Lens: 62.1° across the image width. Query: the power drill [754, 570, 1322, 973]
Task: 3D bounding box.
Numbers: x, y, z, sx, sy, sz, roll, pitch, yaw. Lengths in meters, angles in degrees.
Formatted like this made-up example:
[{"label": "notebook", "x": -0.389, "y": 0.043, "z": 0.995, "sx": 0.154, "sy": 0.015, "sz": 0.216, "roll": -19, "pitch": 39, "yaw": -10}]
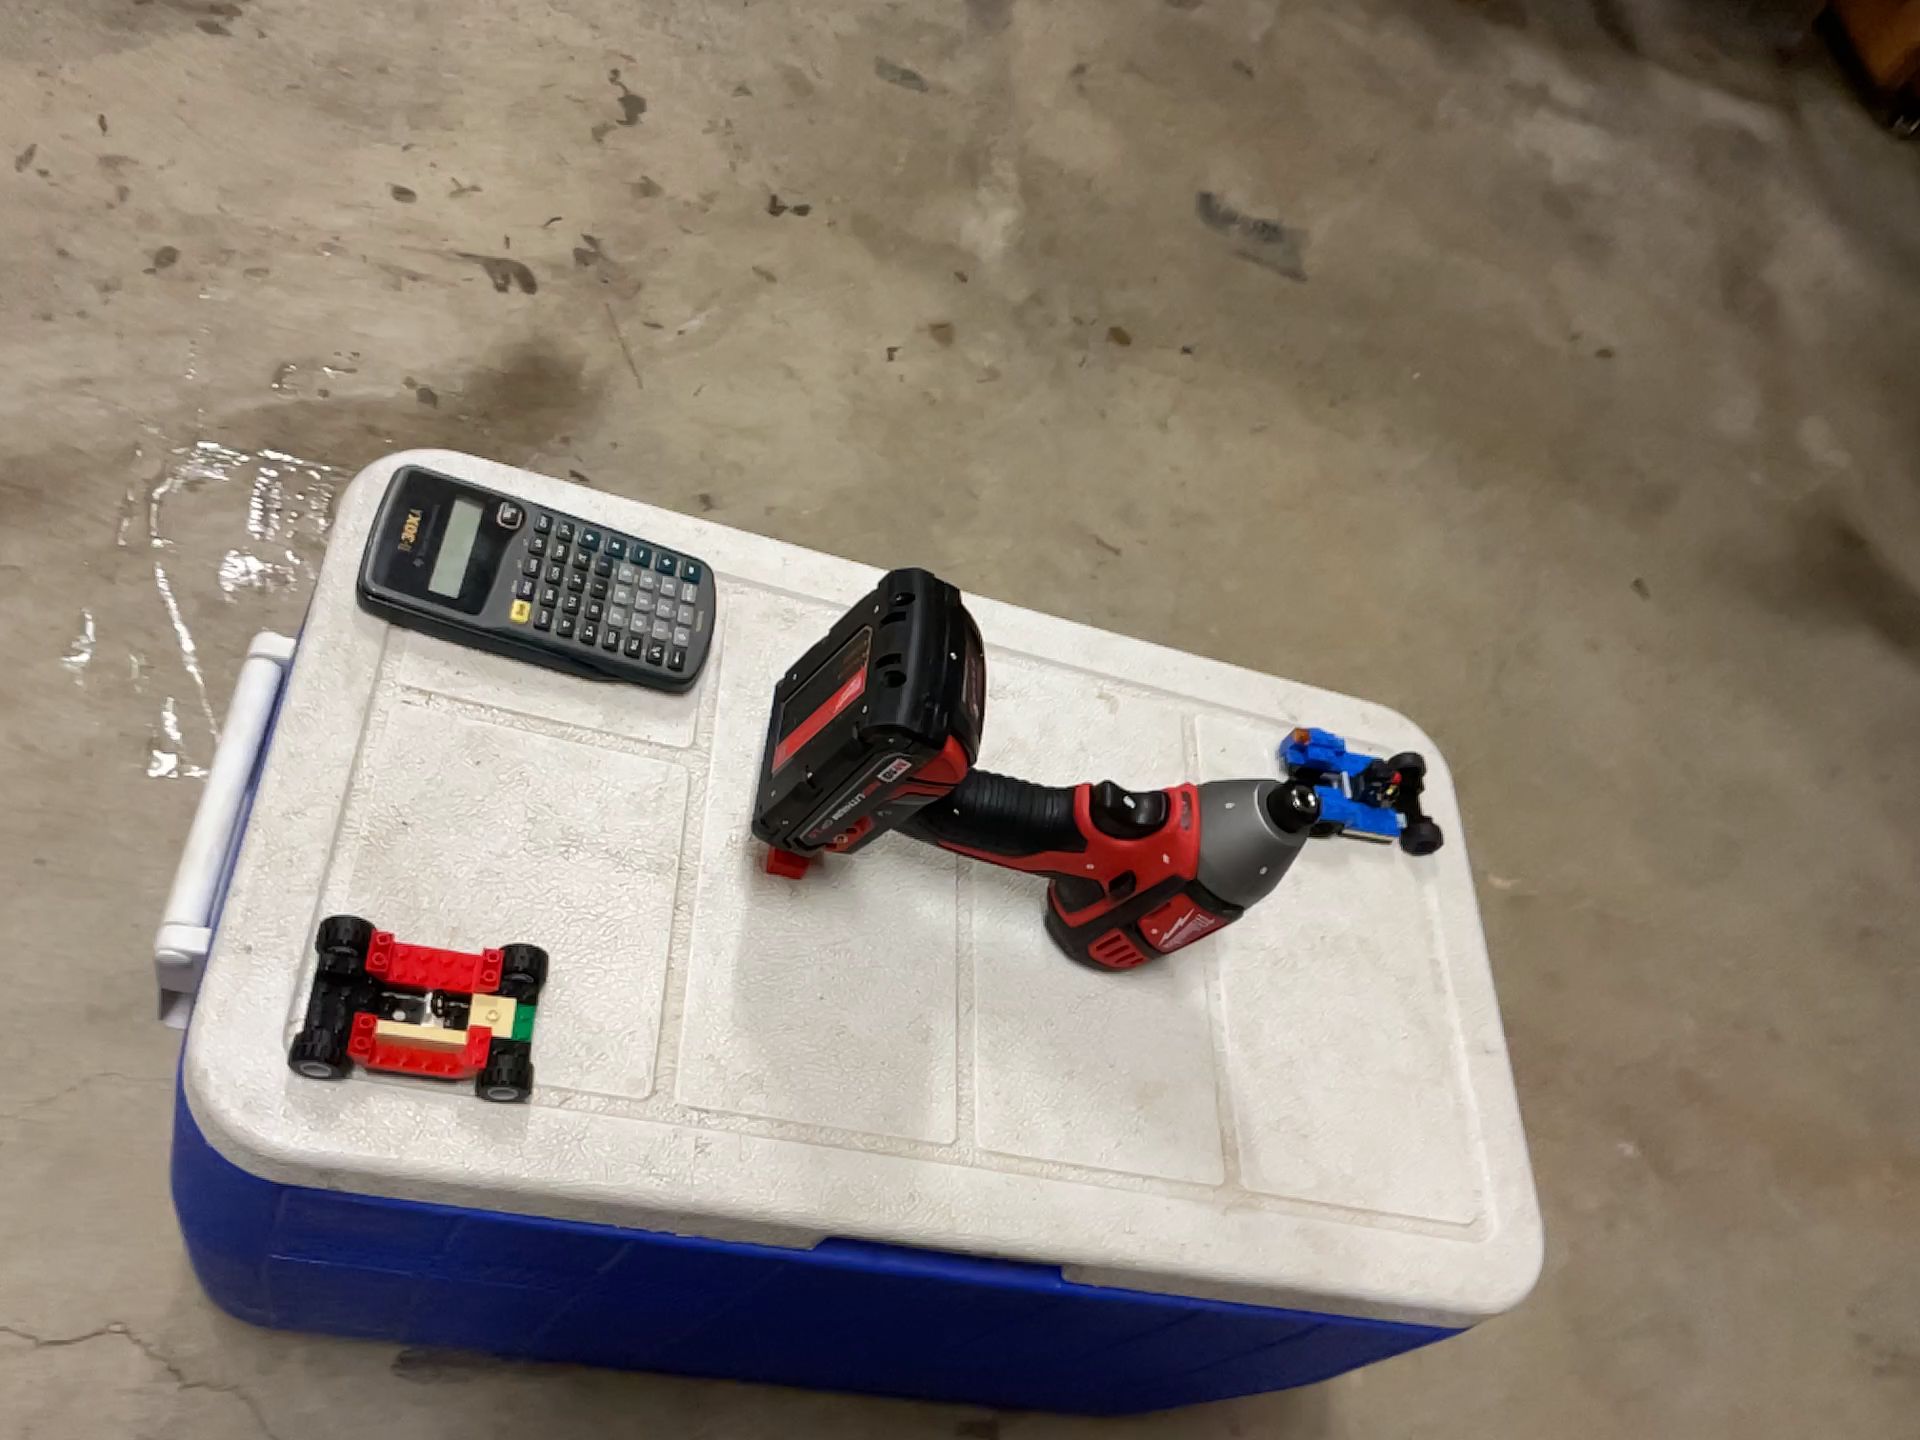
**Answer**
[{"label": "power drill", "x": 0.038, "y": 0.032, "z": 0.671, "sx": 0.219, "sy": 0.143, "sz": 0.079, "roll": 26, "pitch": 49, "yaw": -27}]
